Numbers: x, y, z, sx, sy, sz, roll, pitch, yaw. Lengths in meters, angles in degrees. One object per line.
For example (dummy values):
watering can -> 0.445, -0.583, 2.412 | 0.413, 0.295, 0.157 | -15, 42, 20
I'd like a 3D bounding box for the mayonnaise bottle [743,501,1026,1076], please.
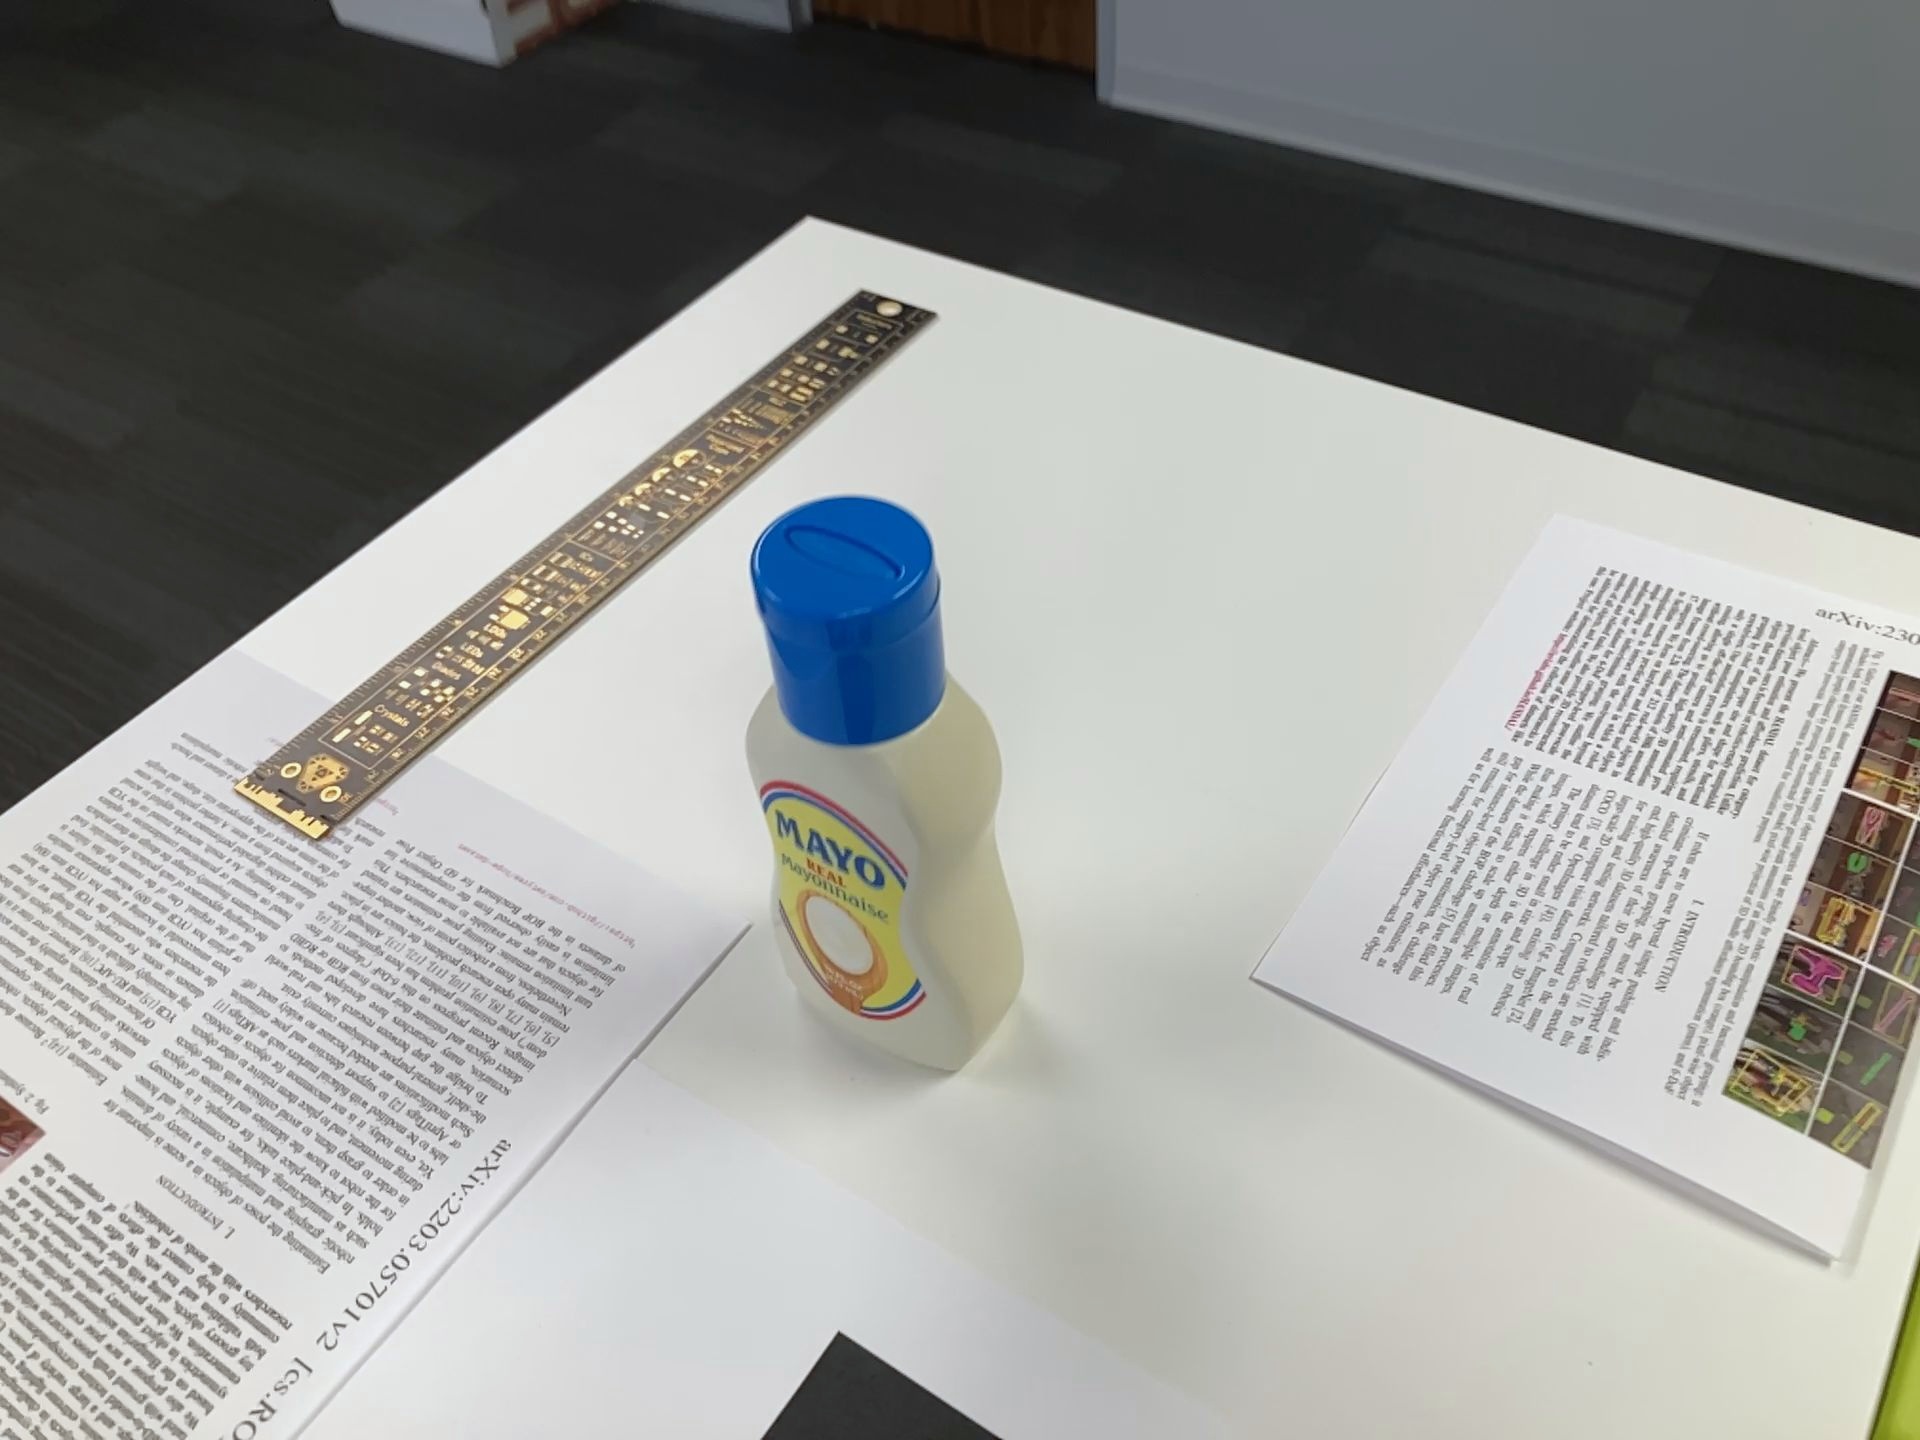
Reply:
mayonnaise bottle -> -0.019, 0.019, 0.356 | 0.065, 0.148, 0.041 | 24, 53, 25
